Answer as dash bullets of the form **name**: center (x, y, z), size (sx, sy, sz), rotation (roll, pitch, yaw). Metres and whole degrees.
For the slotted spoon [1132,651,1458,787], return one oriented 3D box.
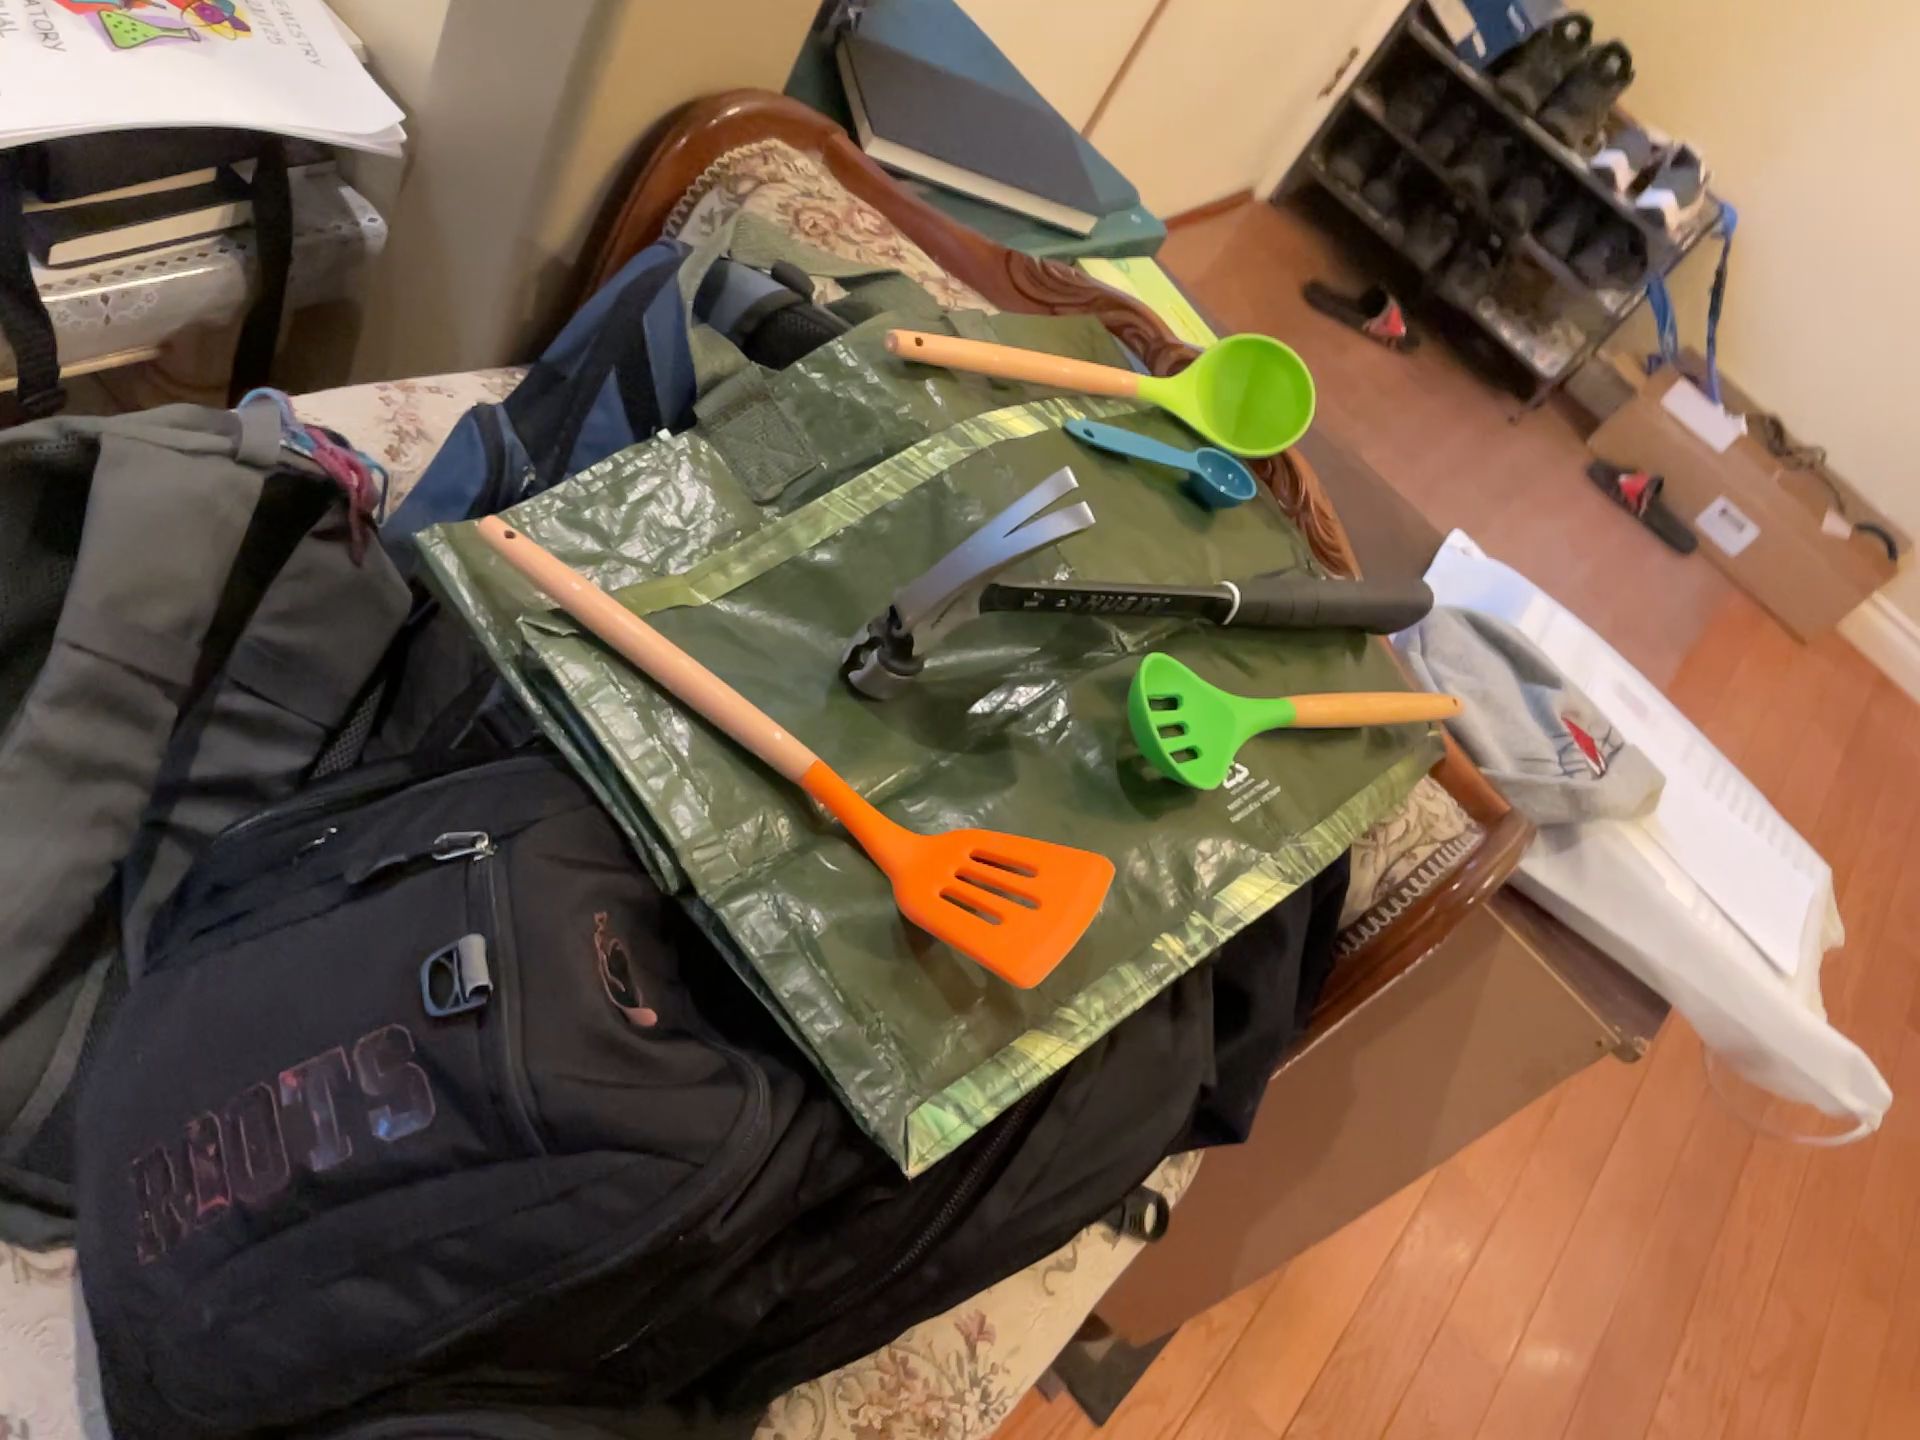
- **slotted spoon**: center (0.186, -0.002, 0.843), size (0.313, 0.031, 0.070), rotation (-2, 69, -46)

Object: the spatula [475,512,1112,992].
- **spatula**: center (-0.083, 0.003, 0.688), size (0.322, 0.041, 0.081), rotation (37, 49, 6)

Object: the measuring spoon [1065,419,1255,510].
- **measuring spoon**: center (0.110, -0.144, 0.901), size (0.128, 0.021, 0.042), rotation (12, 45, -26)

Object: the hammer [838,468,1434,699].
- **hammer**: center (0.133, -0.066, 0.844), size (0.408, 0.149, 0.036), rotation (-3, 63, -43)

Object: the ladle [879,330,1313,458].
- **ladle**: center (0.087, -0.197, 0.904), size (0.319, 0.062, 0.078), rotation (-1, 79, -43)
